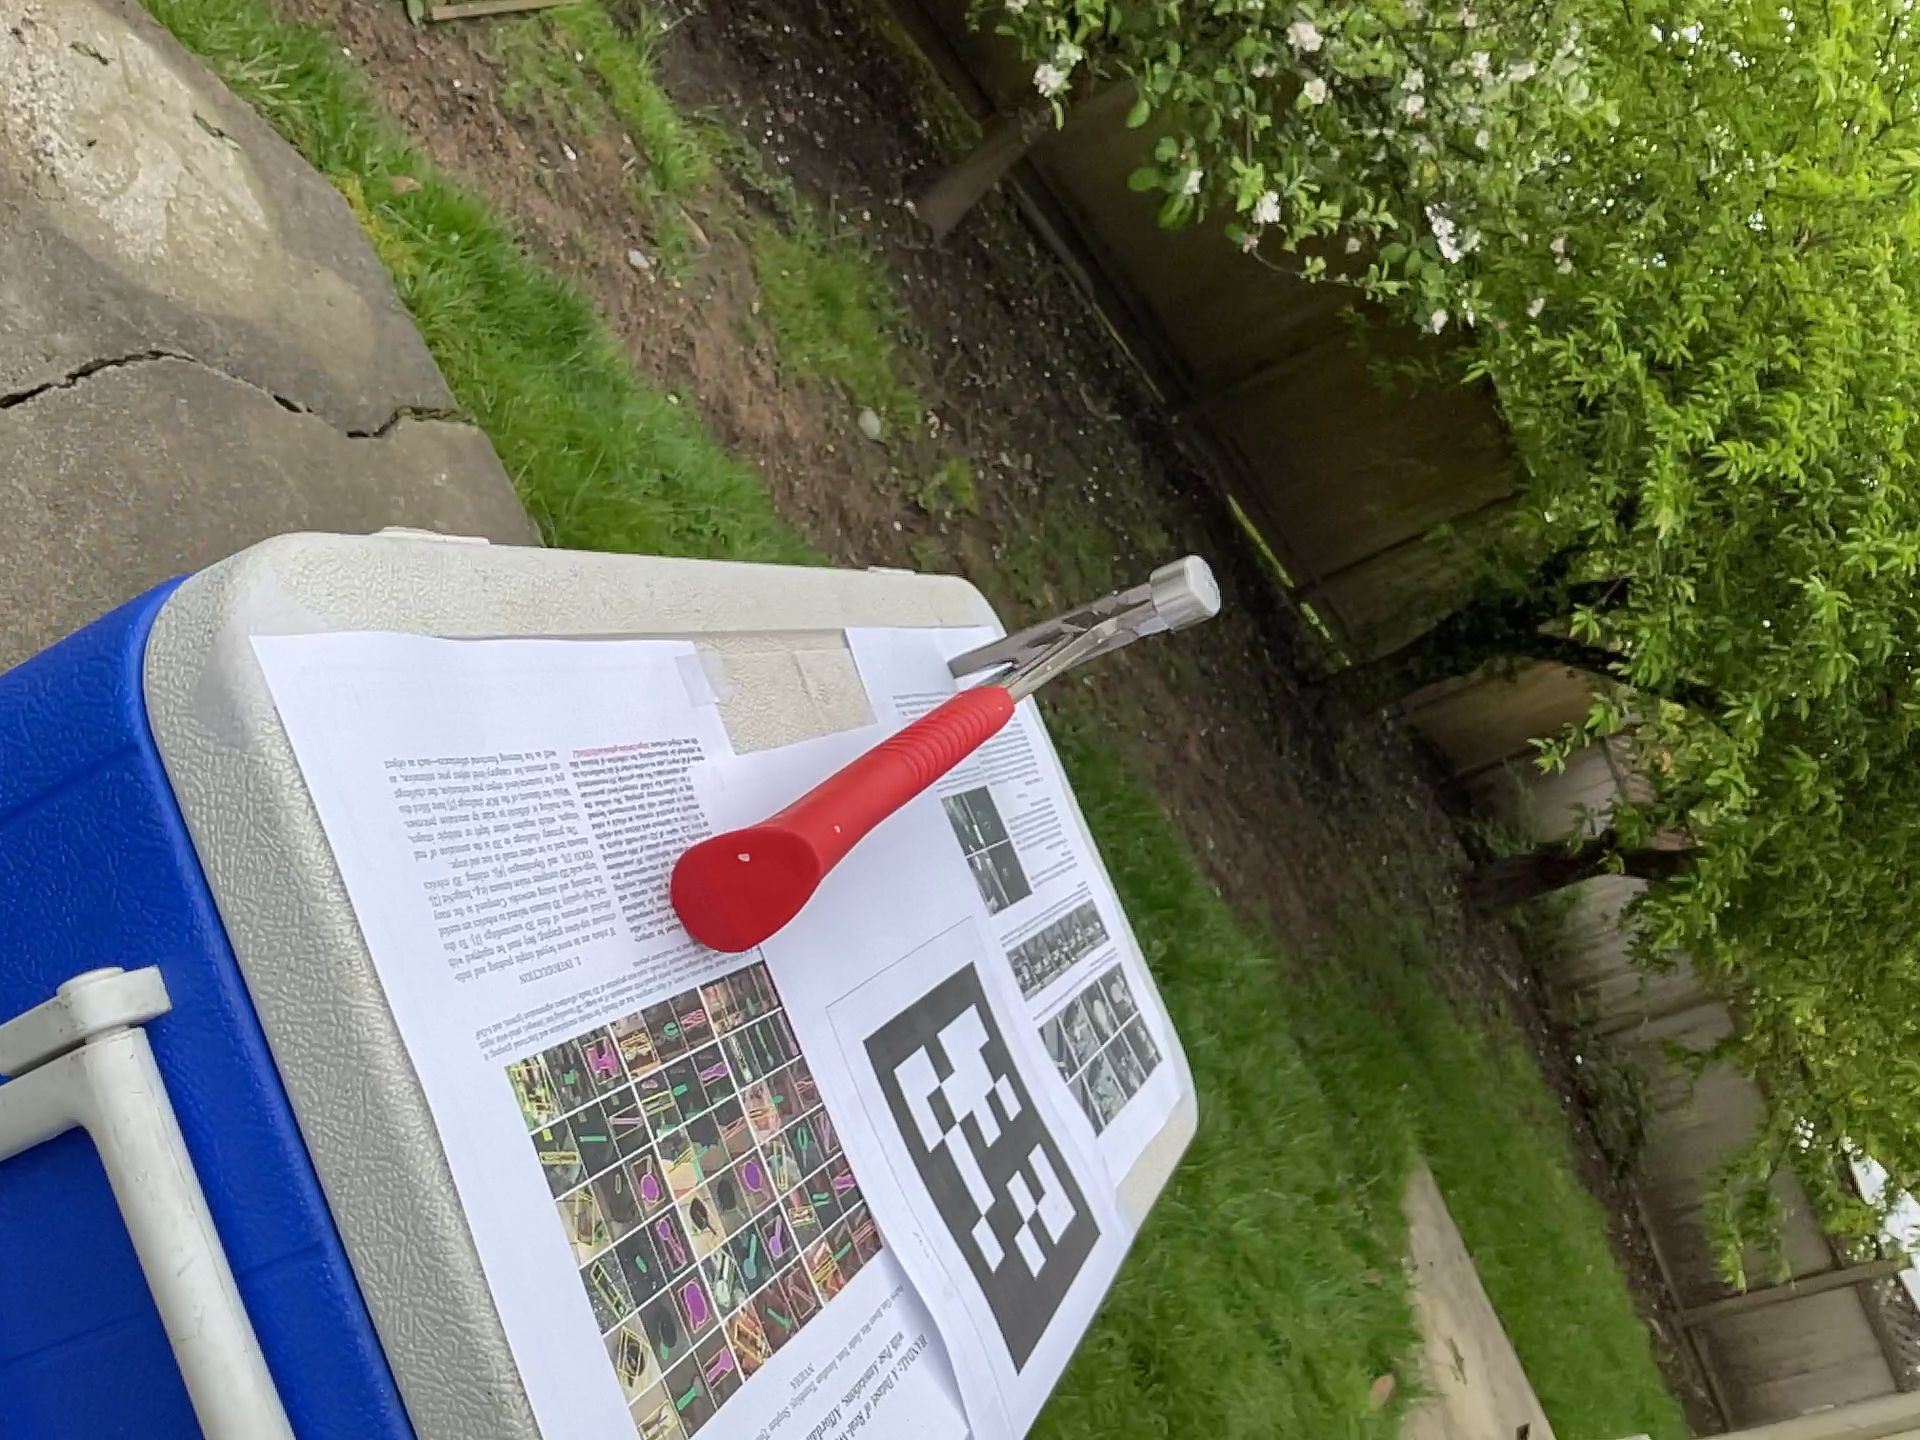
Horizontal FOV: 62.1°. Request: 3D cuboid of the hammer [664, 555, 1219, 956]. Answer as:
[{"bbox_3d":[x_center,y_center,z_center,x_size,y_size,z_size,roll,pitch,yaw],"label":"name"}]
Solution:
[{"bbox_3d":[-0.011,0.007,0.645,0.037,0.149,0.359,64,30,-6],"label":"hammer"}]
